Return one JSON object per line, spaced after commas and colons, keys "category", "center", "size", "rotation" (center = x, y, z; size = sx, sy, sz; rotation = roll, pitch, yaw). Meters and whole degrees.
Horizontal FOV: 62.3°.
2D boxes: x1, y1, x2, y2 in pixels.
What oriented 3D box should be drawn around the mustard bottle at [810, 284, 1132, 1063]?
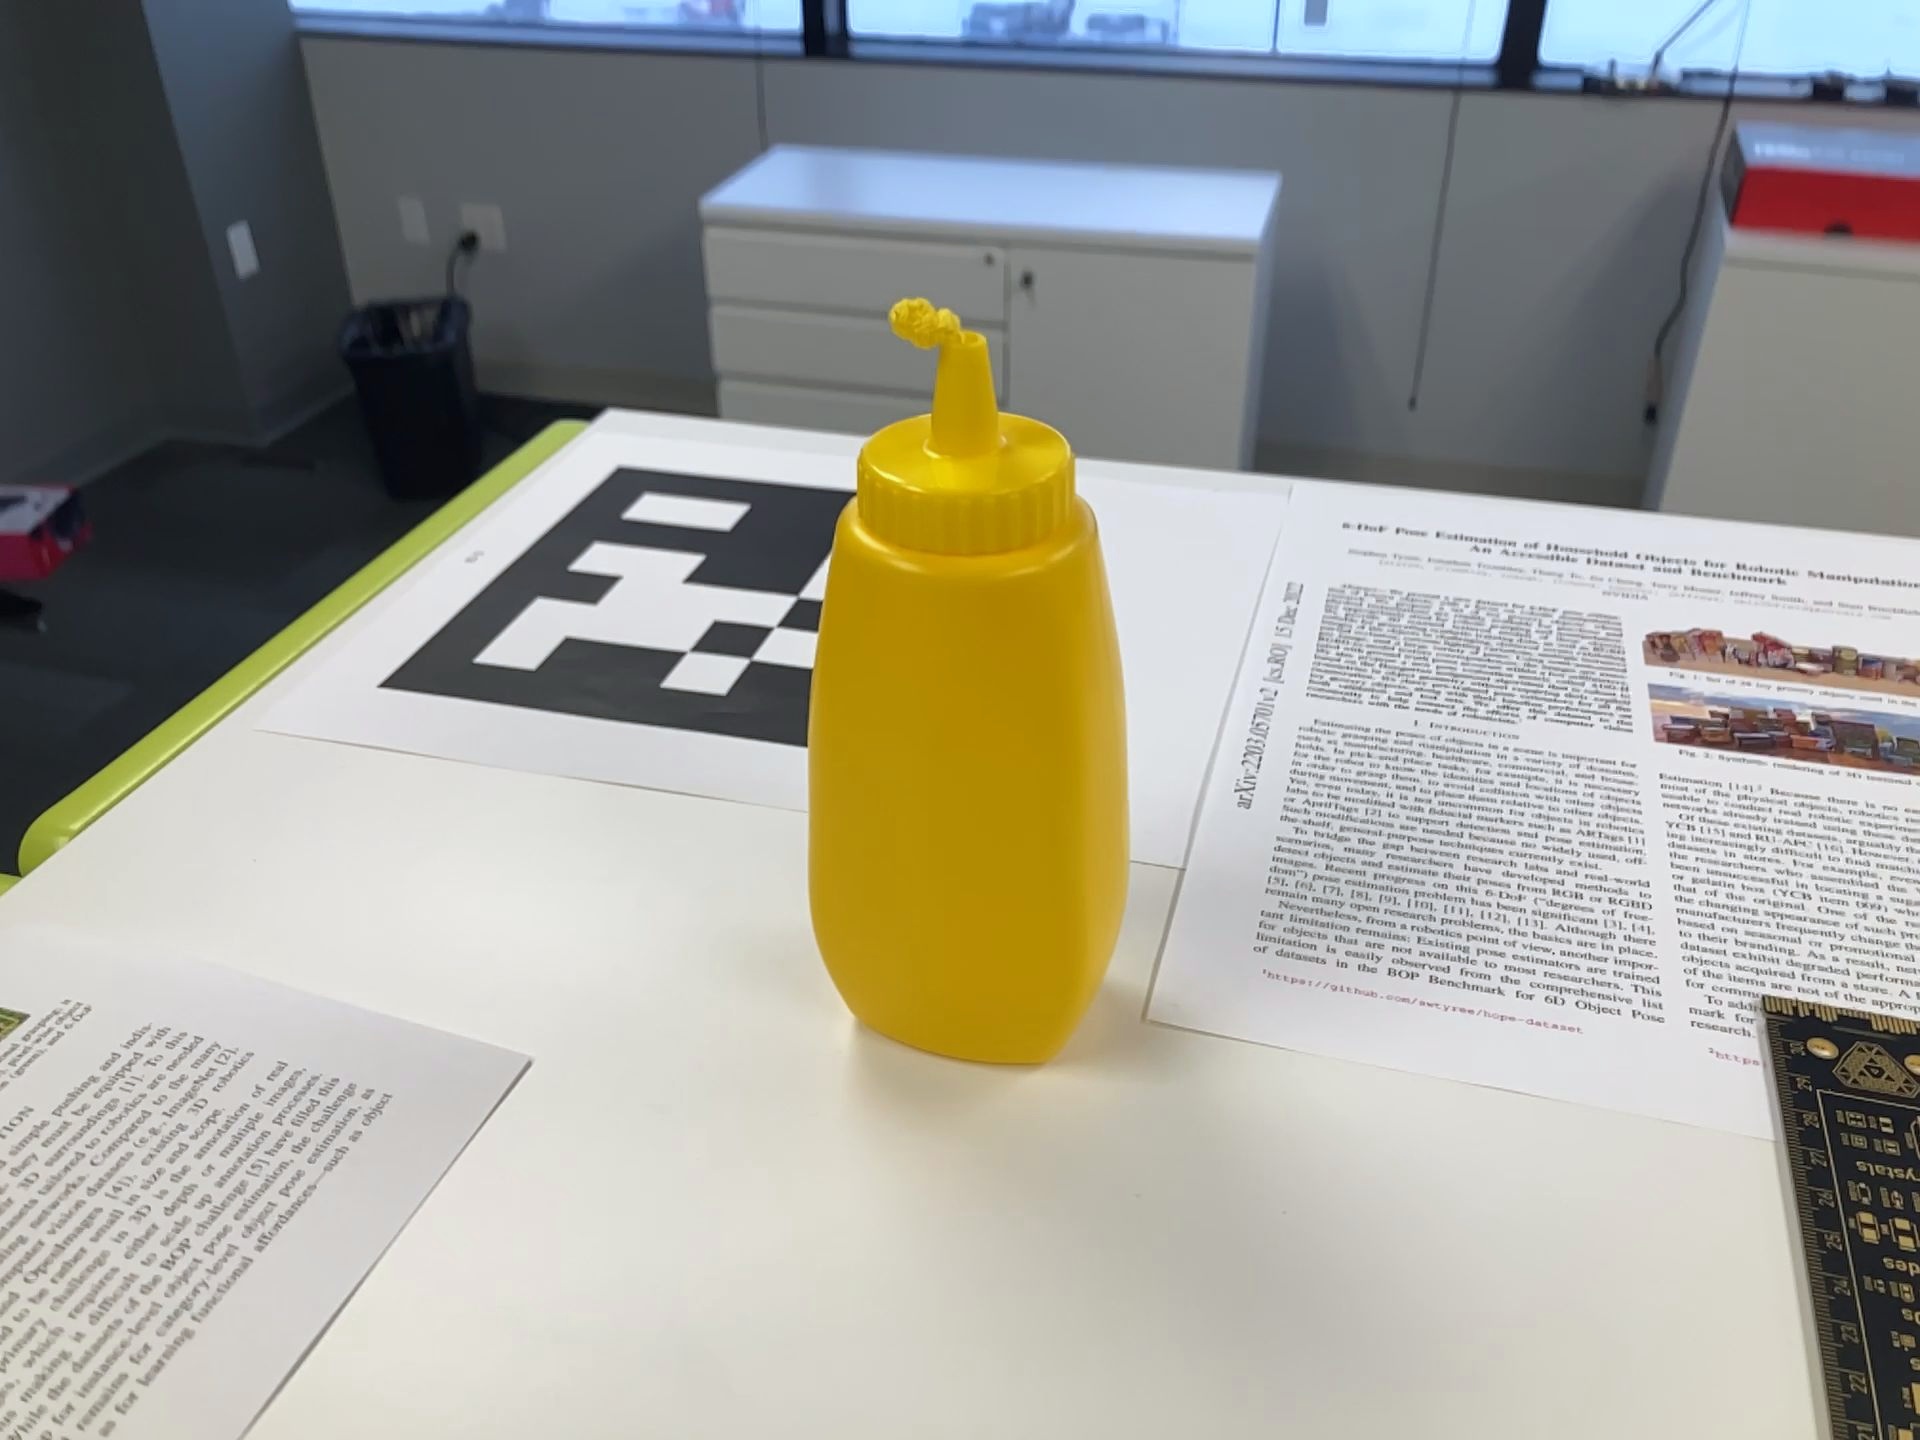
{"category": "mustard bottle", "center": [0.003, -0.006, 0.310], "size": [0.065, 0.160, 0.049], "rotation": [11, 34, 17]}
